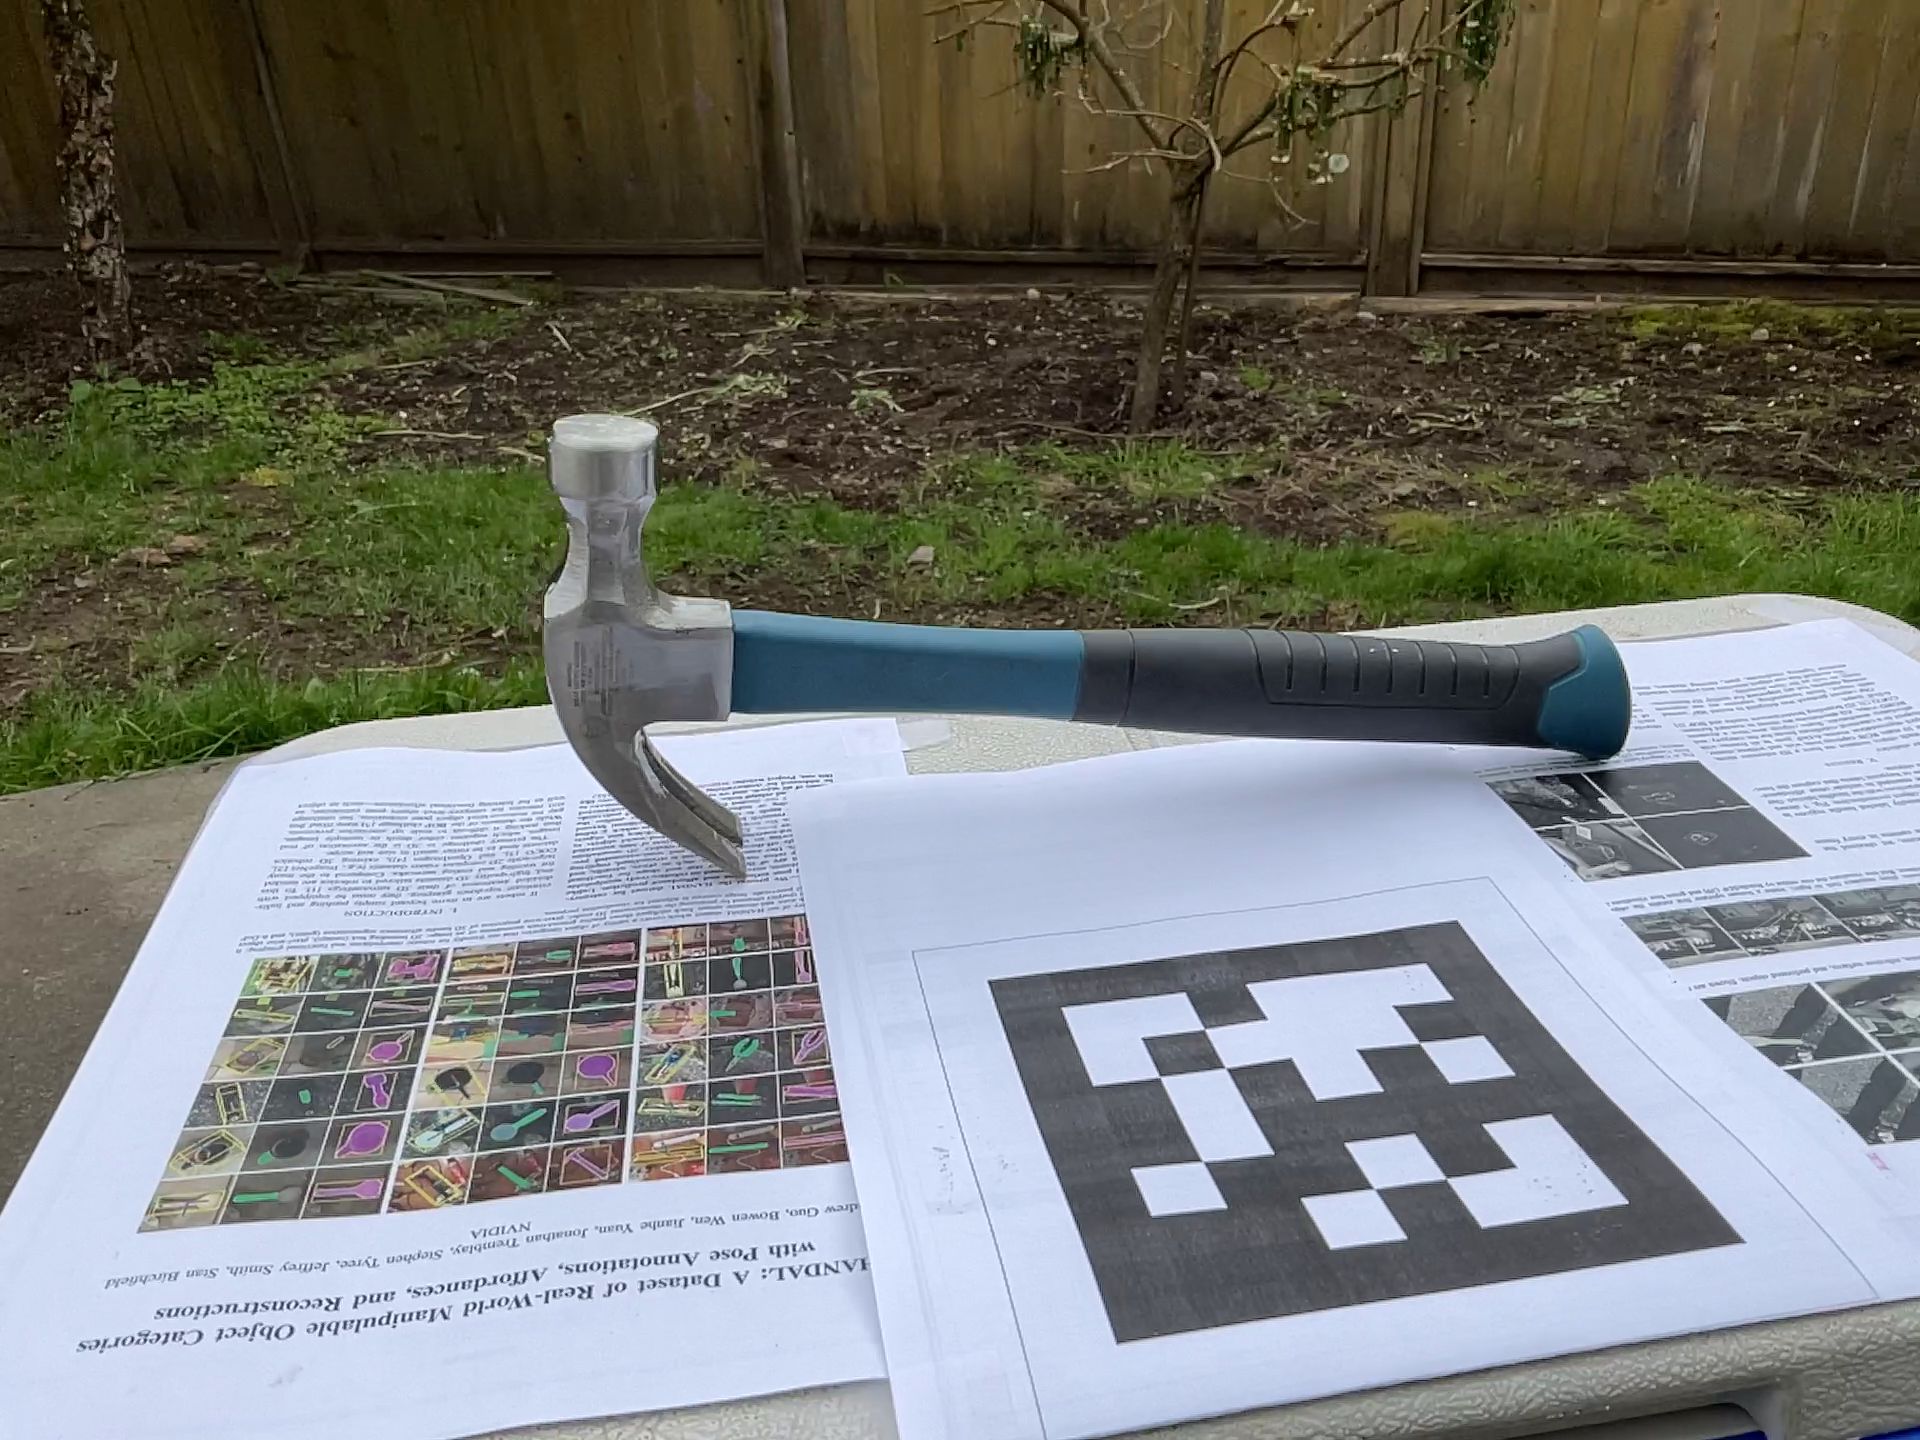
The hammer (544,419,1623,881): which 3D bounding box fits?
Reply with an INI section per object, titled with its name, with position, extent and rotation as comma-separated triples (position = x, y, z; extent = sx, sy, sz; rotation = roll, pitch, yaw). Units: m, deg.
[hammer]
position = 0.047, -0.013, 0.475
extent = 0.331, 0.128, 0.033
rotation = 2, 27, -13
